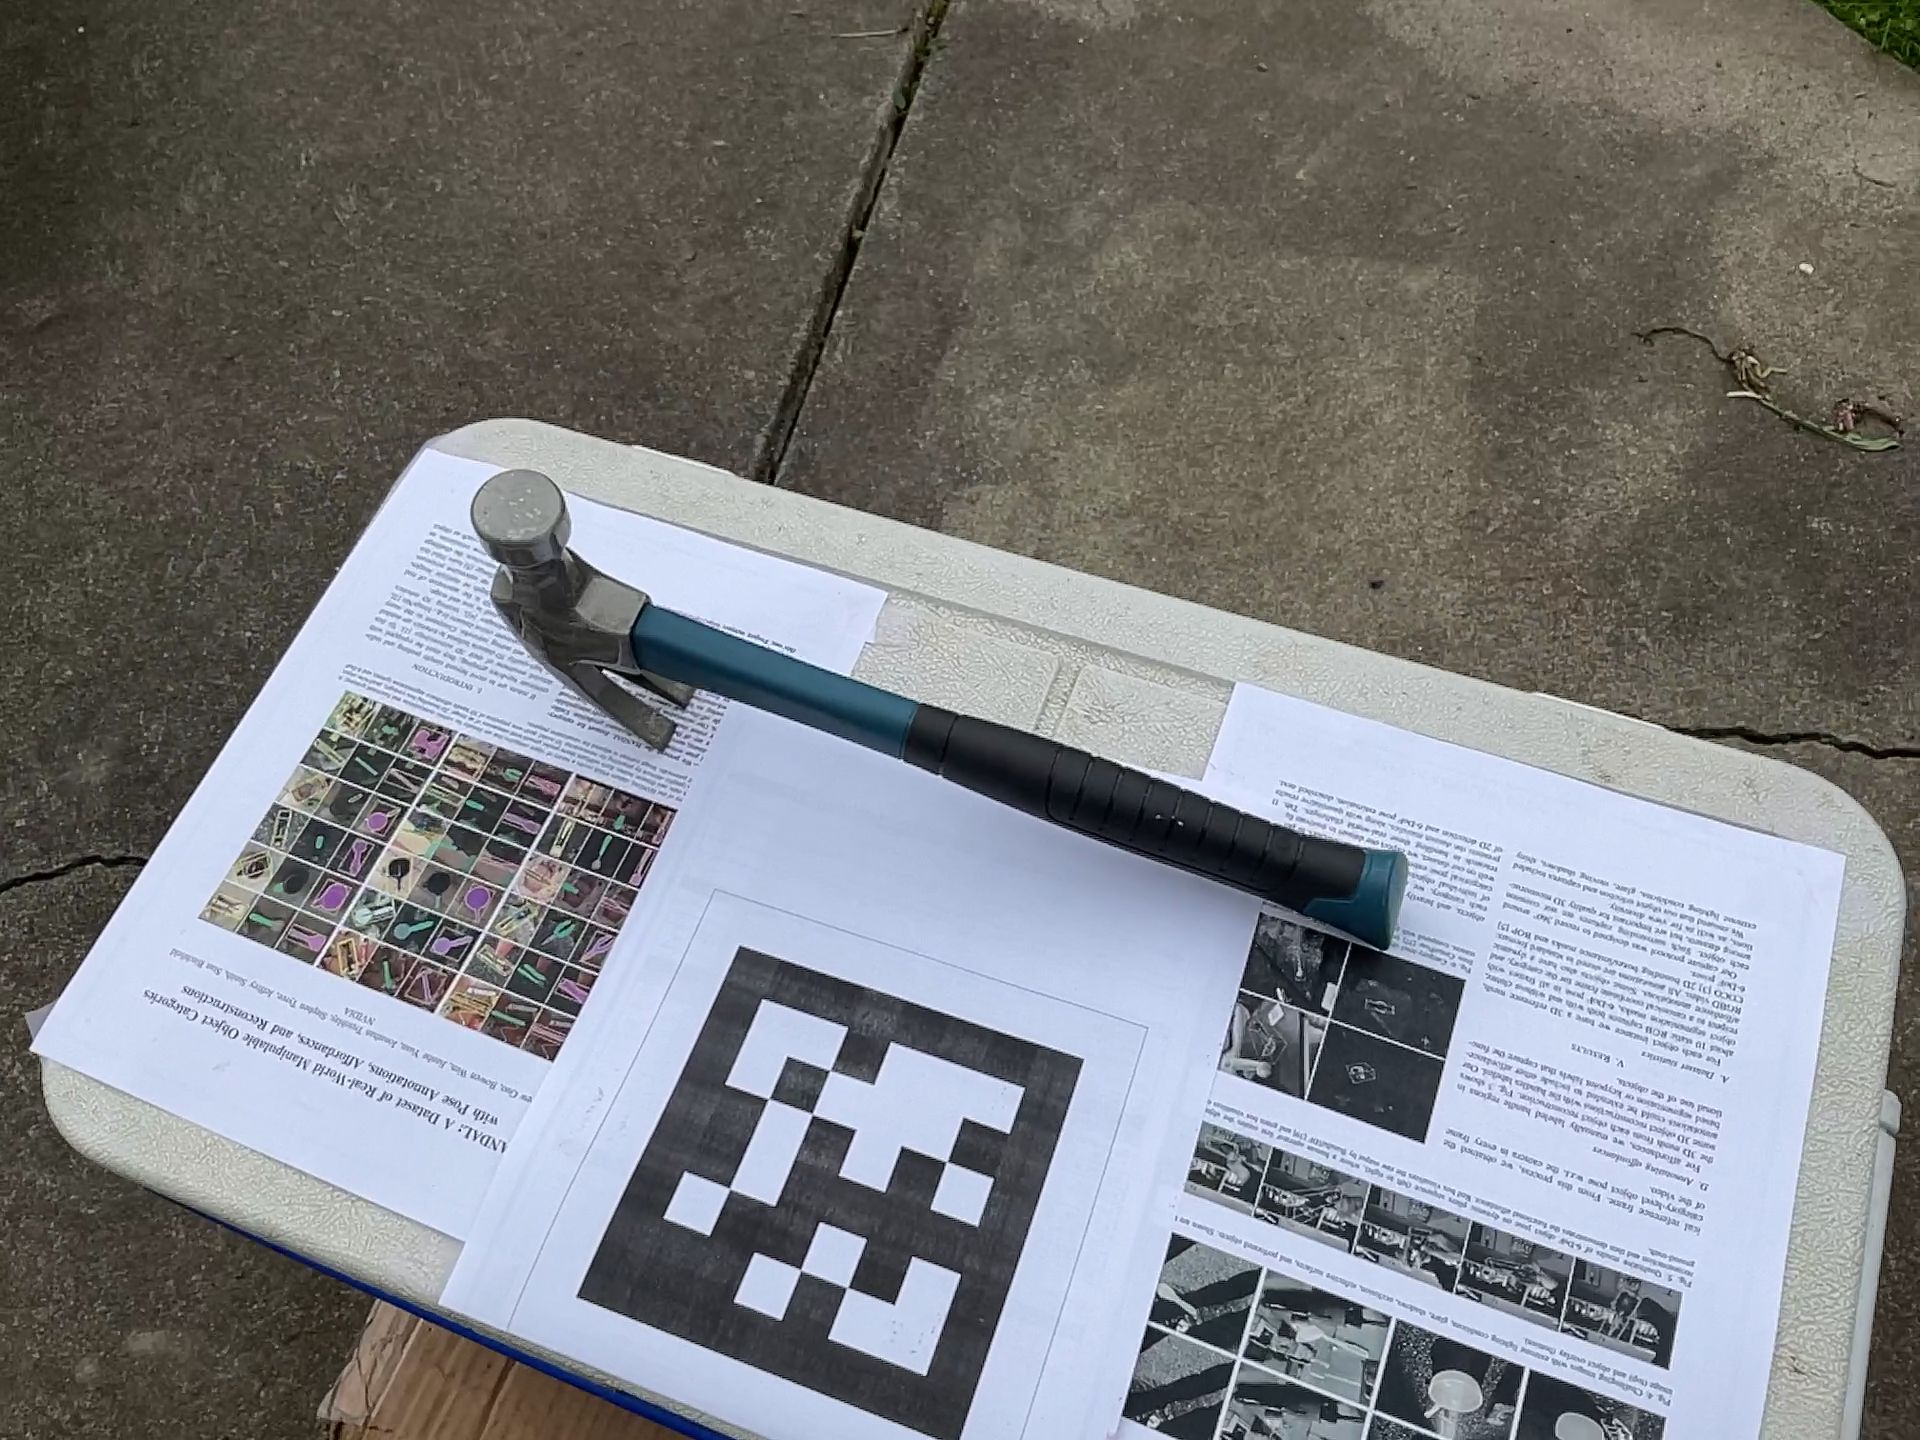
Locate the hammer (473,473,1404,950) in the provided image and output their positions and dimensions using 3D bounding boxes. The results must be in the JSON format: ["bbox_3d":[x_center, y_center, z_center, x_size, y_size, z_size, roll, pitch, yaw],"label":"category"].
[{"bbox_3d":[-0.004,0.009,0.555,0.331,0.128,0.033,20,66,4],"label":"hammer"}]
